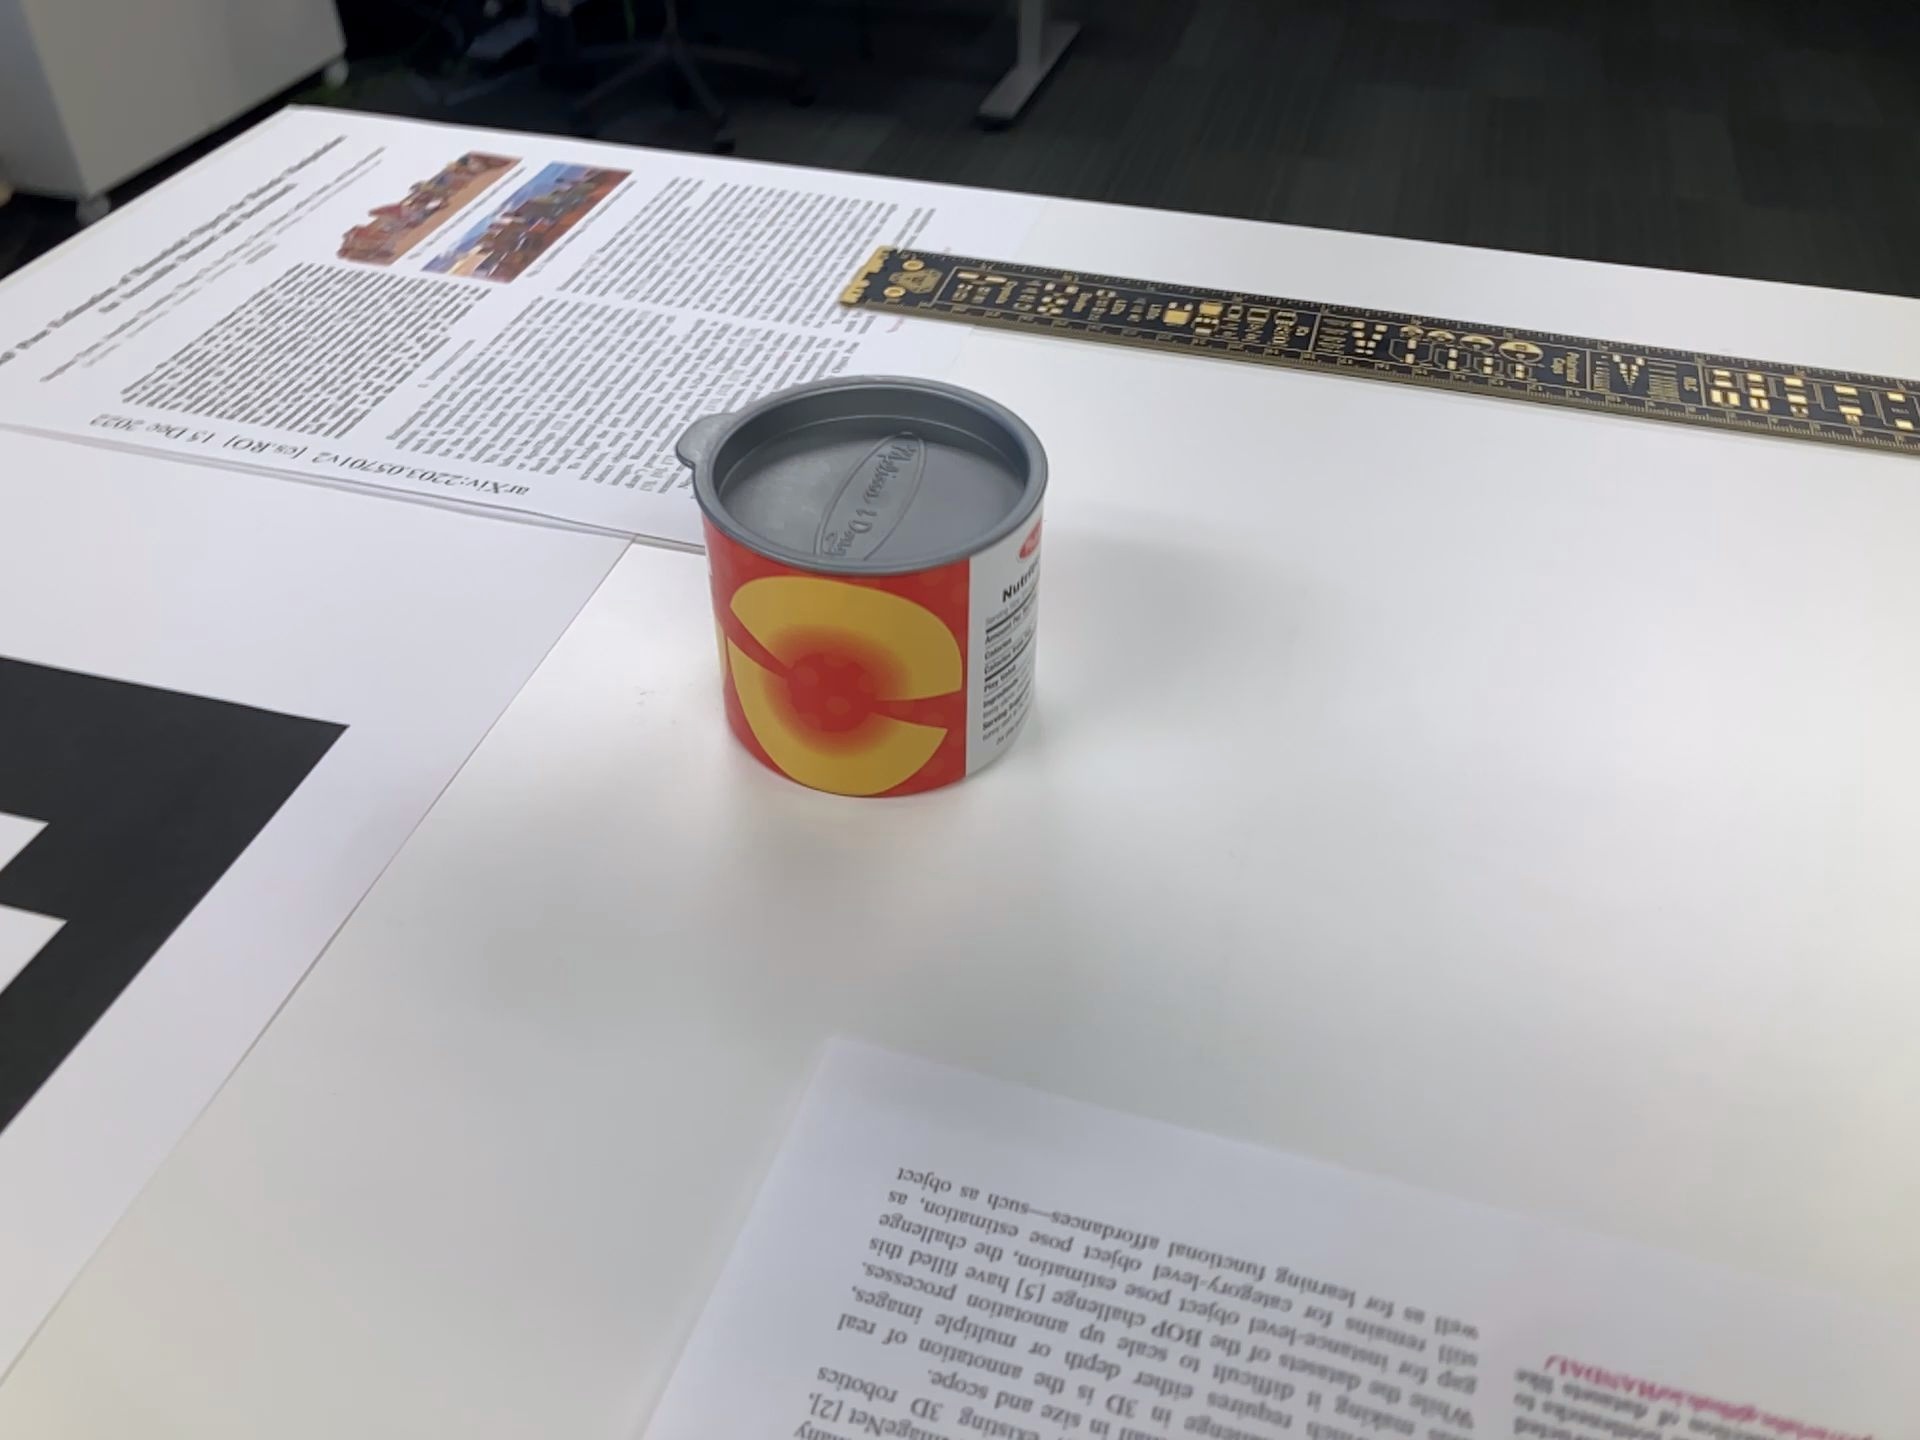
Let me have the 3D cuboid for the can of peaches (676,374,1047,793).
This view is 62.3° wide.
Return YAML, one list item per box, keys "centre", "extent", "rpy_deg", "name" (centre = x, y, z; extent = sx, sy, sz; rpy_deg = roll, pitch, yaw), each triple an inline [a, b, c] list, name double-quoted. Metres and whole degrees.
- centre: [-0.019, -0.028, 0.317]
  extent: [0.071, 0.058, 0.071]
  rpy_deg: [0, 41, 0]
  name: "can of peaches"
